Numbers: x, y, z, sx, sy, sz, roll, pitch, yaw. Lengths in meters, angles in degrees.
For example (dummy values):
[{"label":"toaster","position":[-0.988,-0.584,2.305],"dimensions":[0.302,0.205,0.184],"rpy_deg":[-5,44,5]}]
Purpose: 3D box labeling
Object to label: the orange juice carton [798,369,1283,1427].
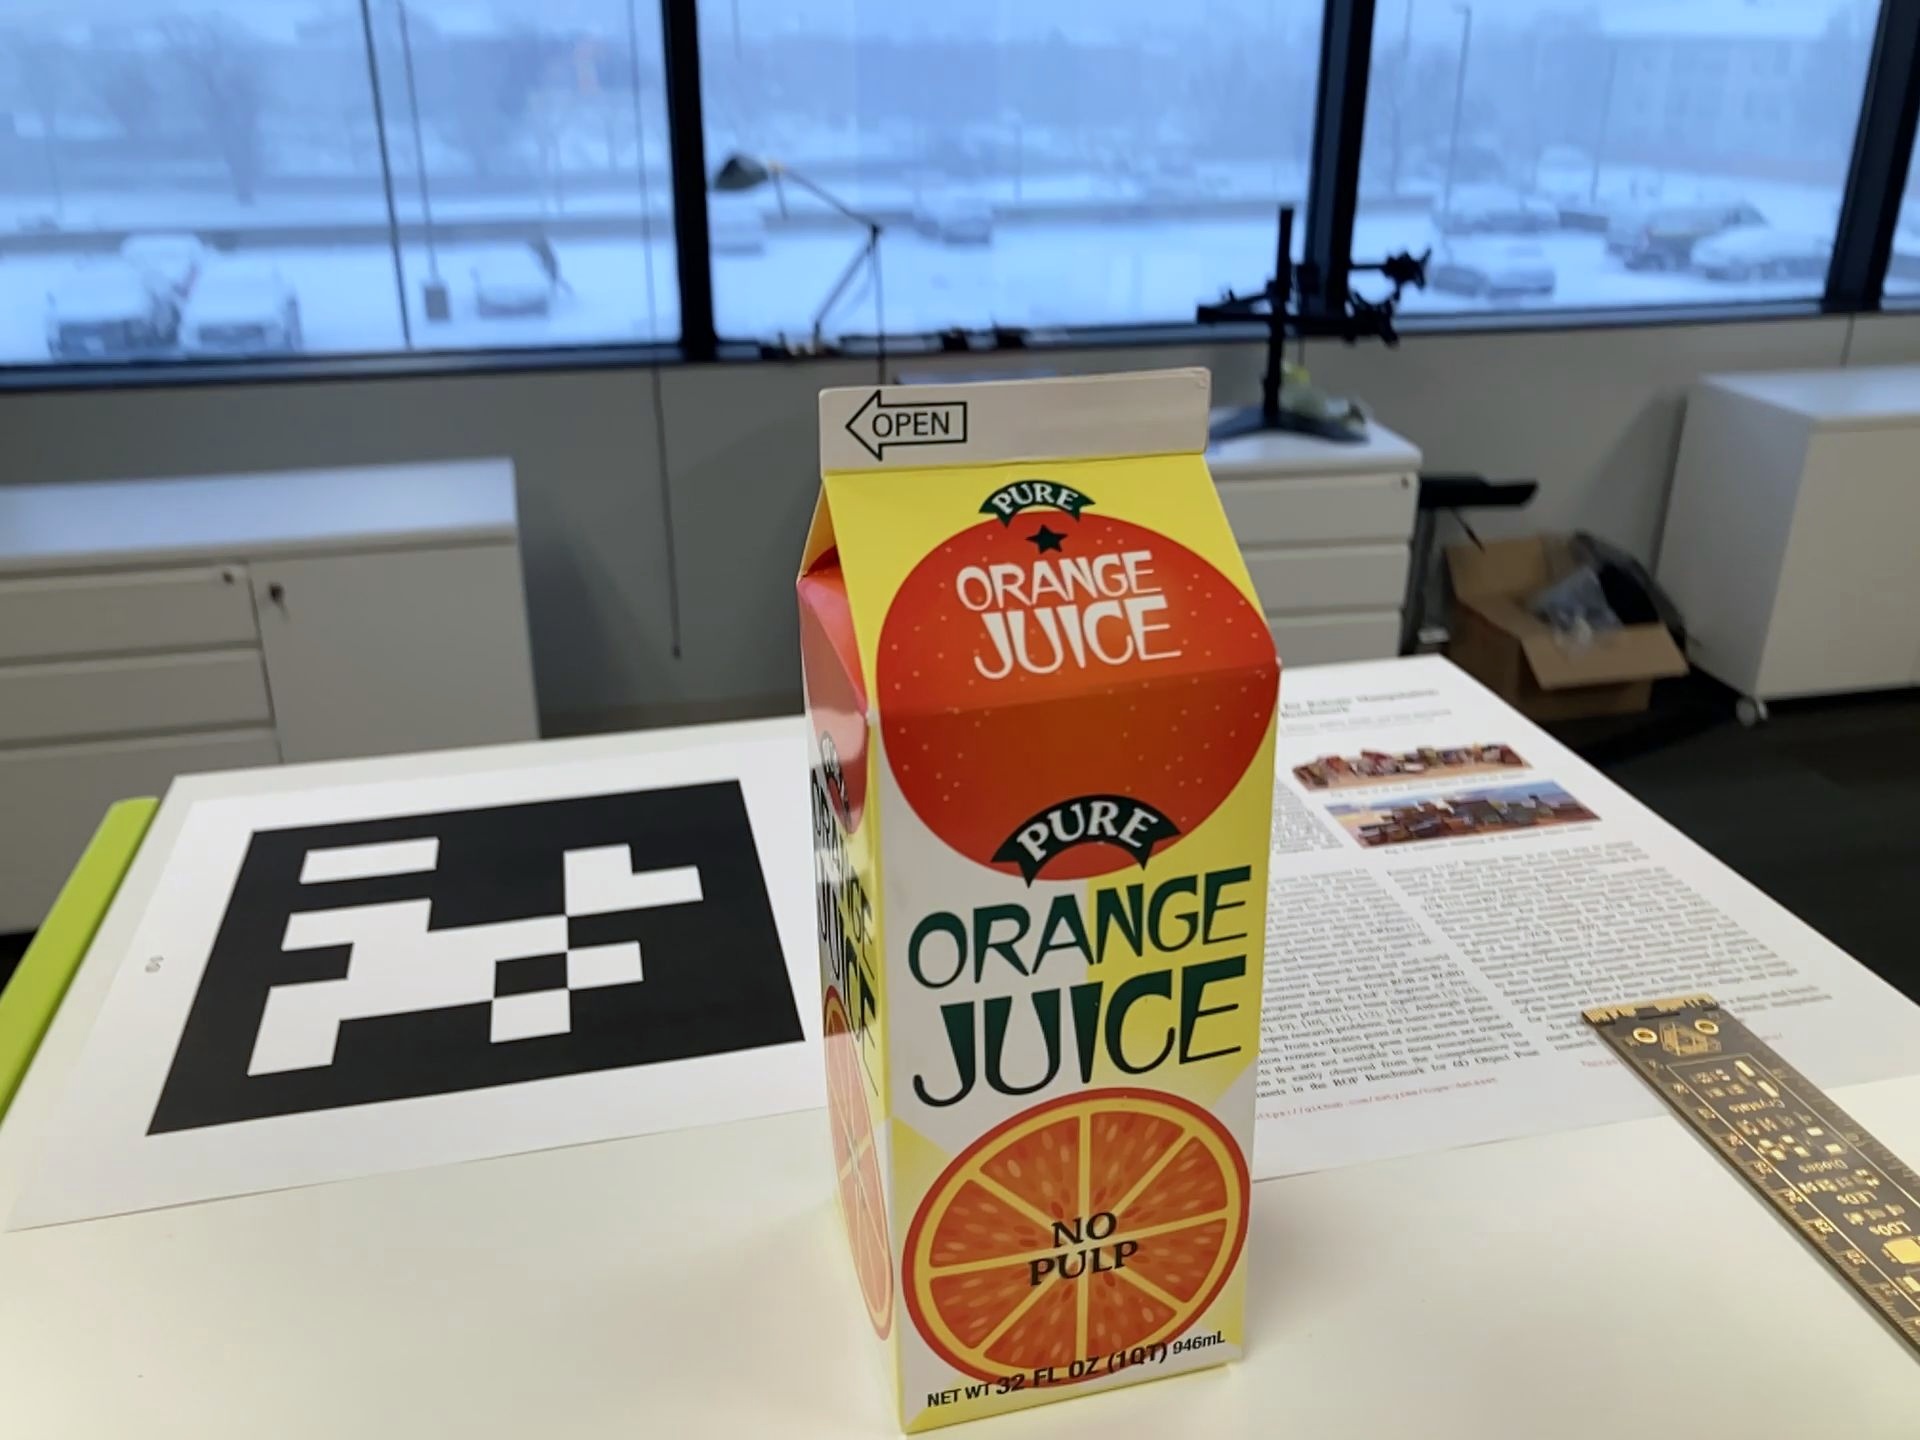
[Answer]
[{"label":"orange juice carton","position":[0.013,0.031,0.306],"dimensions":[0.072,0.192,0.073],"rpy_deg":[-7,23,-13]}]
